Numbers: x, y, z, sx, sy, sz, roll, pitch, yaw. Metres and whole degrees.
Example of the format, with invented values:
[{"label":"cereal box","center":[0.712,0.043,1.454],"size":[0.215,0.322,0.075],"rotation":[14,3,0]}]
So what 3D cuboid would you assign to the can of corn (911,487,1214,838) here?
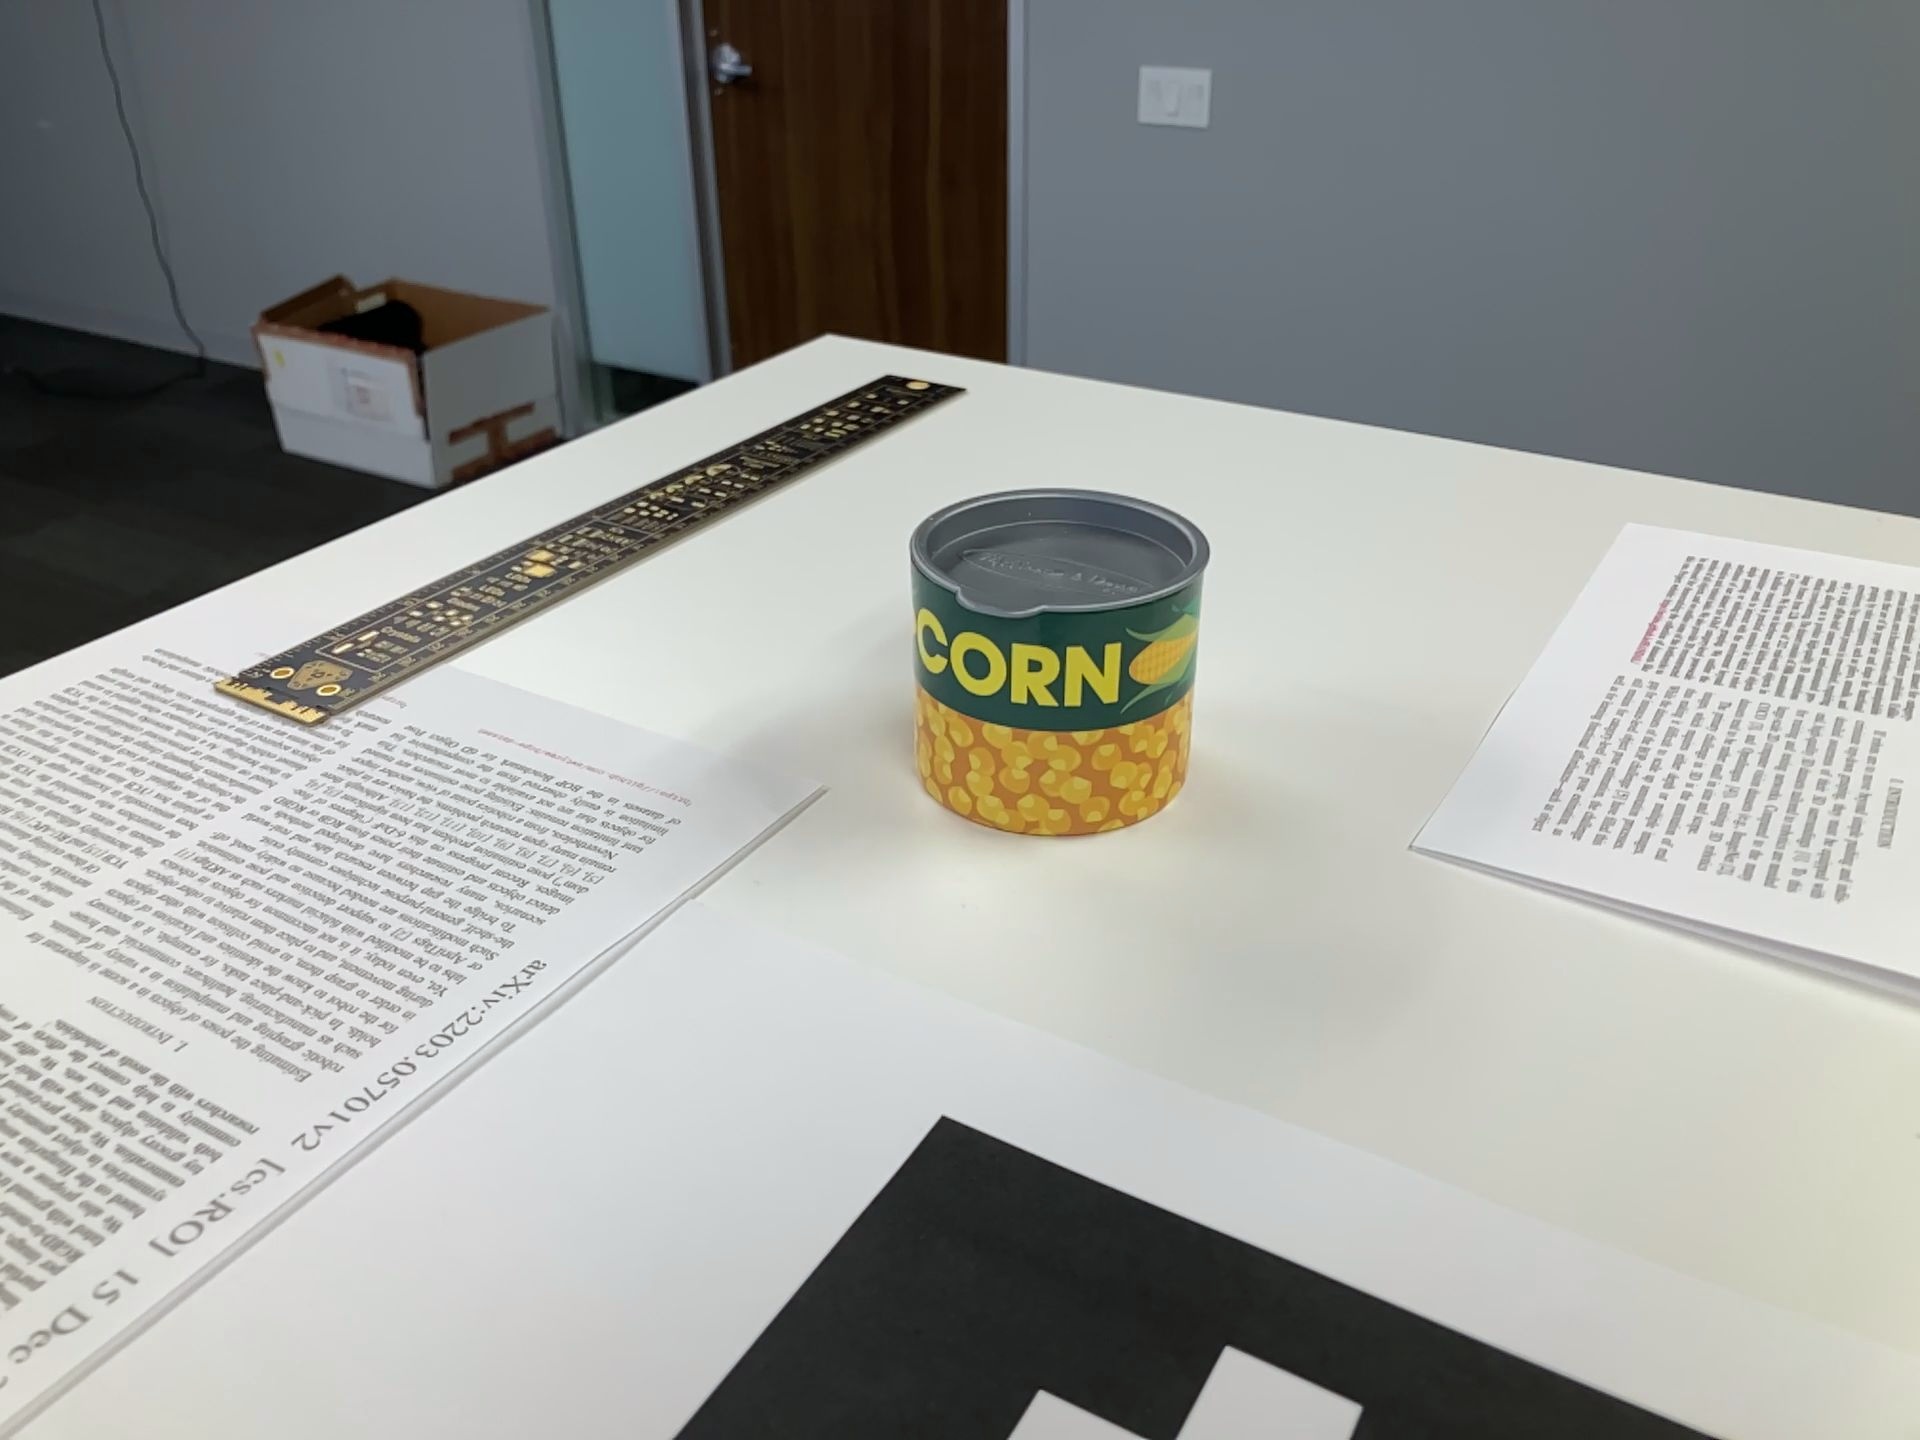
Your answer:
[{"label":"can of corn","center":[0.021,-0.013,0.361],"size":[0.071,0.058,0.071],"rotation":[0,29,0]}]
